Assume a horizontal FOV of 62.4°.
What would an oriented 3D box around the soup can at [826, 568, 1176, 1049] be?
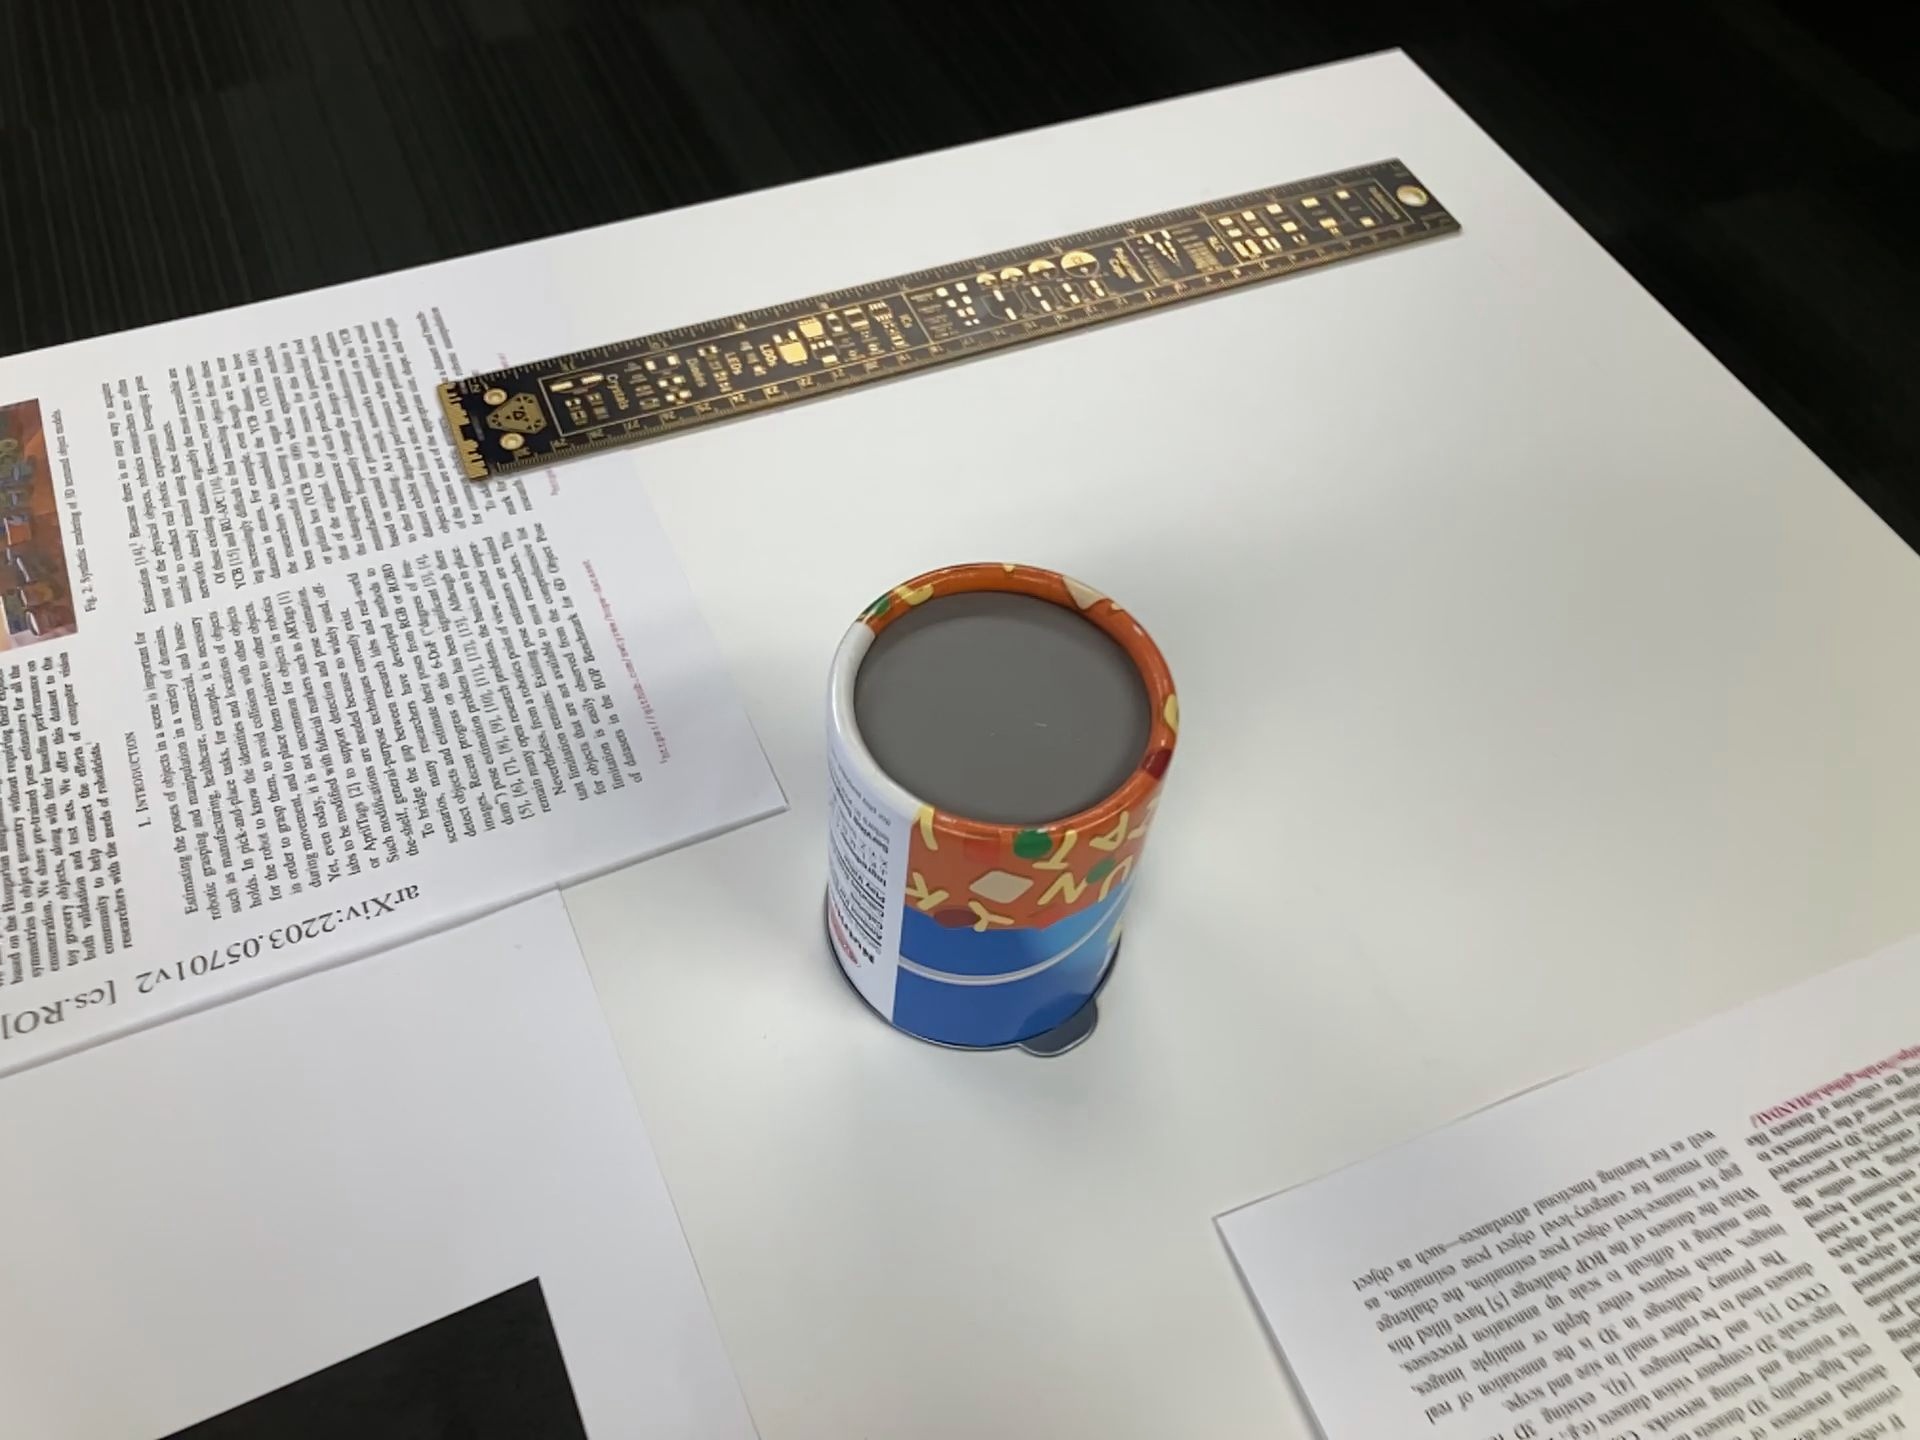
[{"bbox_3d":[0.008,0.019,0.326,0.071,0.084,0.071,2,54,-3],"label":"soup can"}]
